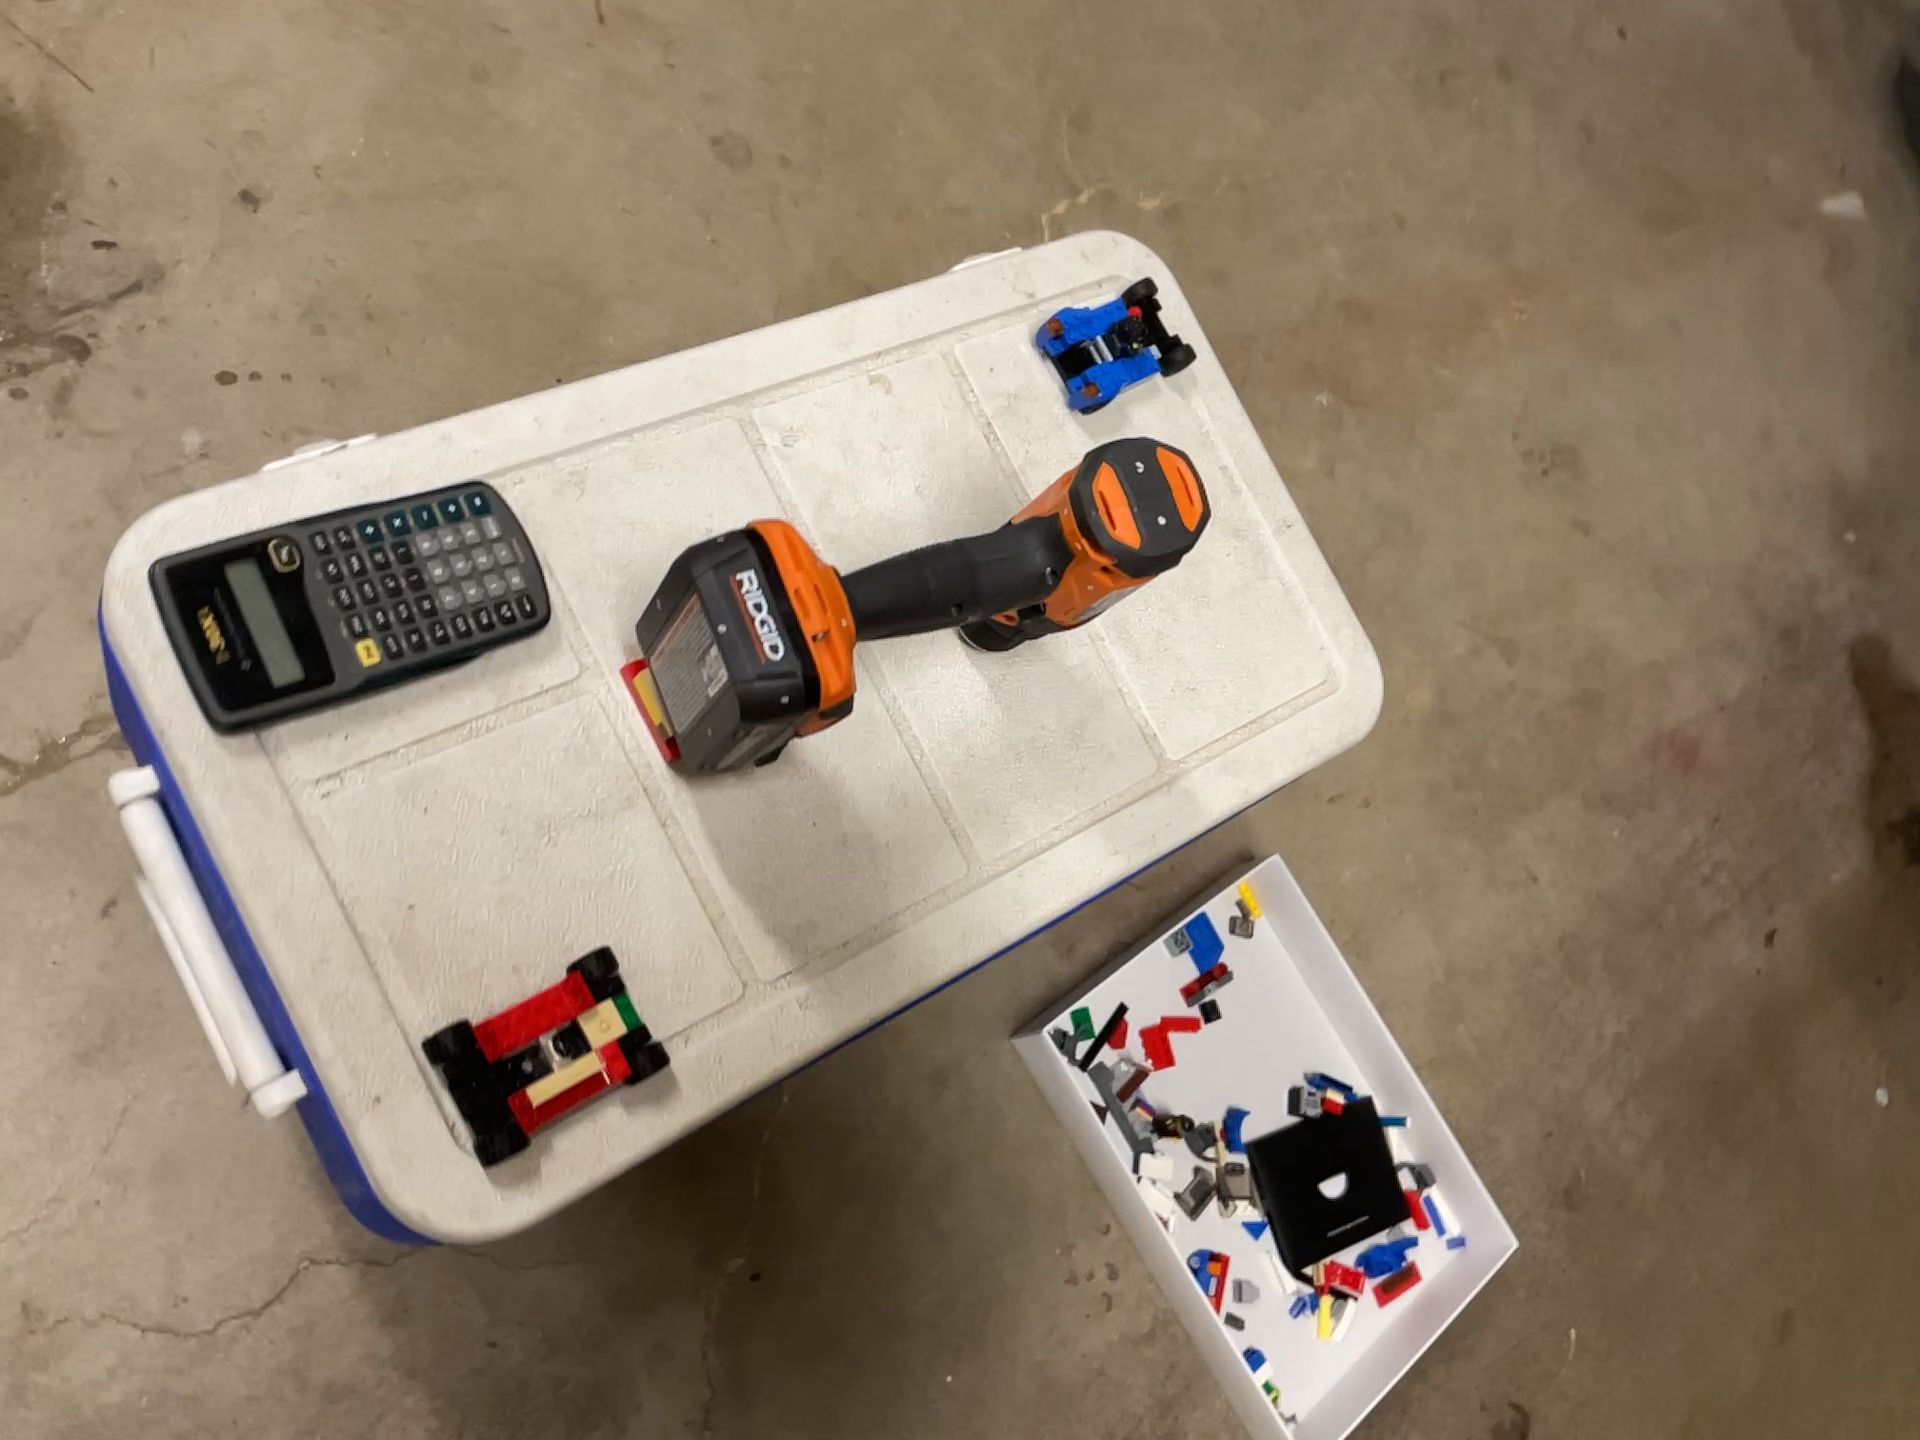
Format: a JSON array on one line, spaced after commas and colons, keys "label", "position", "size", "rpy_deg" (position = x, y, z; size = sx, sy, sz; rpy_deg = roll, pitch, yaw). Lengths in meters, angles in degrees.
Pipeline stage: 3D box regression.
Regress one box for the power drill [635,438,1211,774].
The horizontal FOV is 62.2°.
[{"label": "power drill", "position": [-0.023, -0.048, 0.708], "size": [0.226, 0.185, 0.084], "rpy_deg": [-19, 85, -25]}]
